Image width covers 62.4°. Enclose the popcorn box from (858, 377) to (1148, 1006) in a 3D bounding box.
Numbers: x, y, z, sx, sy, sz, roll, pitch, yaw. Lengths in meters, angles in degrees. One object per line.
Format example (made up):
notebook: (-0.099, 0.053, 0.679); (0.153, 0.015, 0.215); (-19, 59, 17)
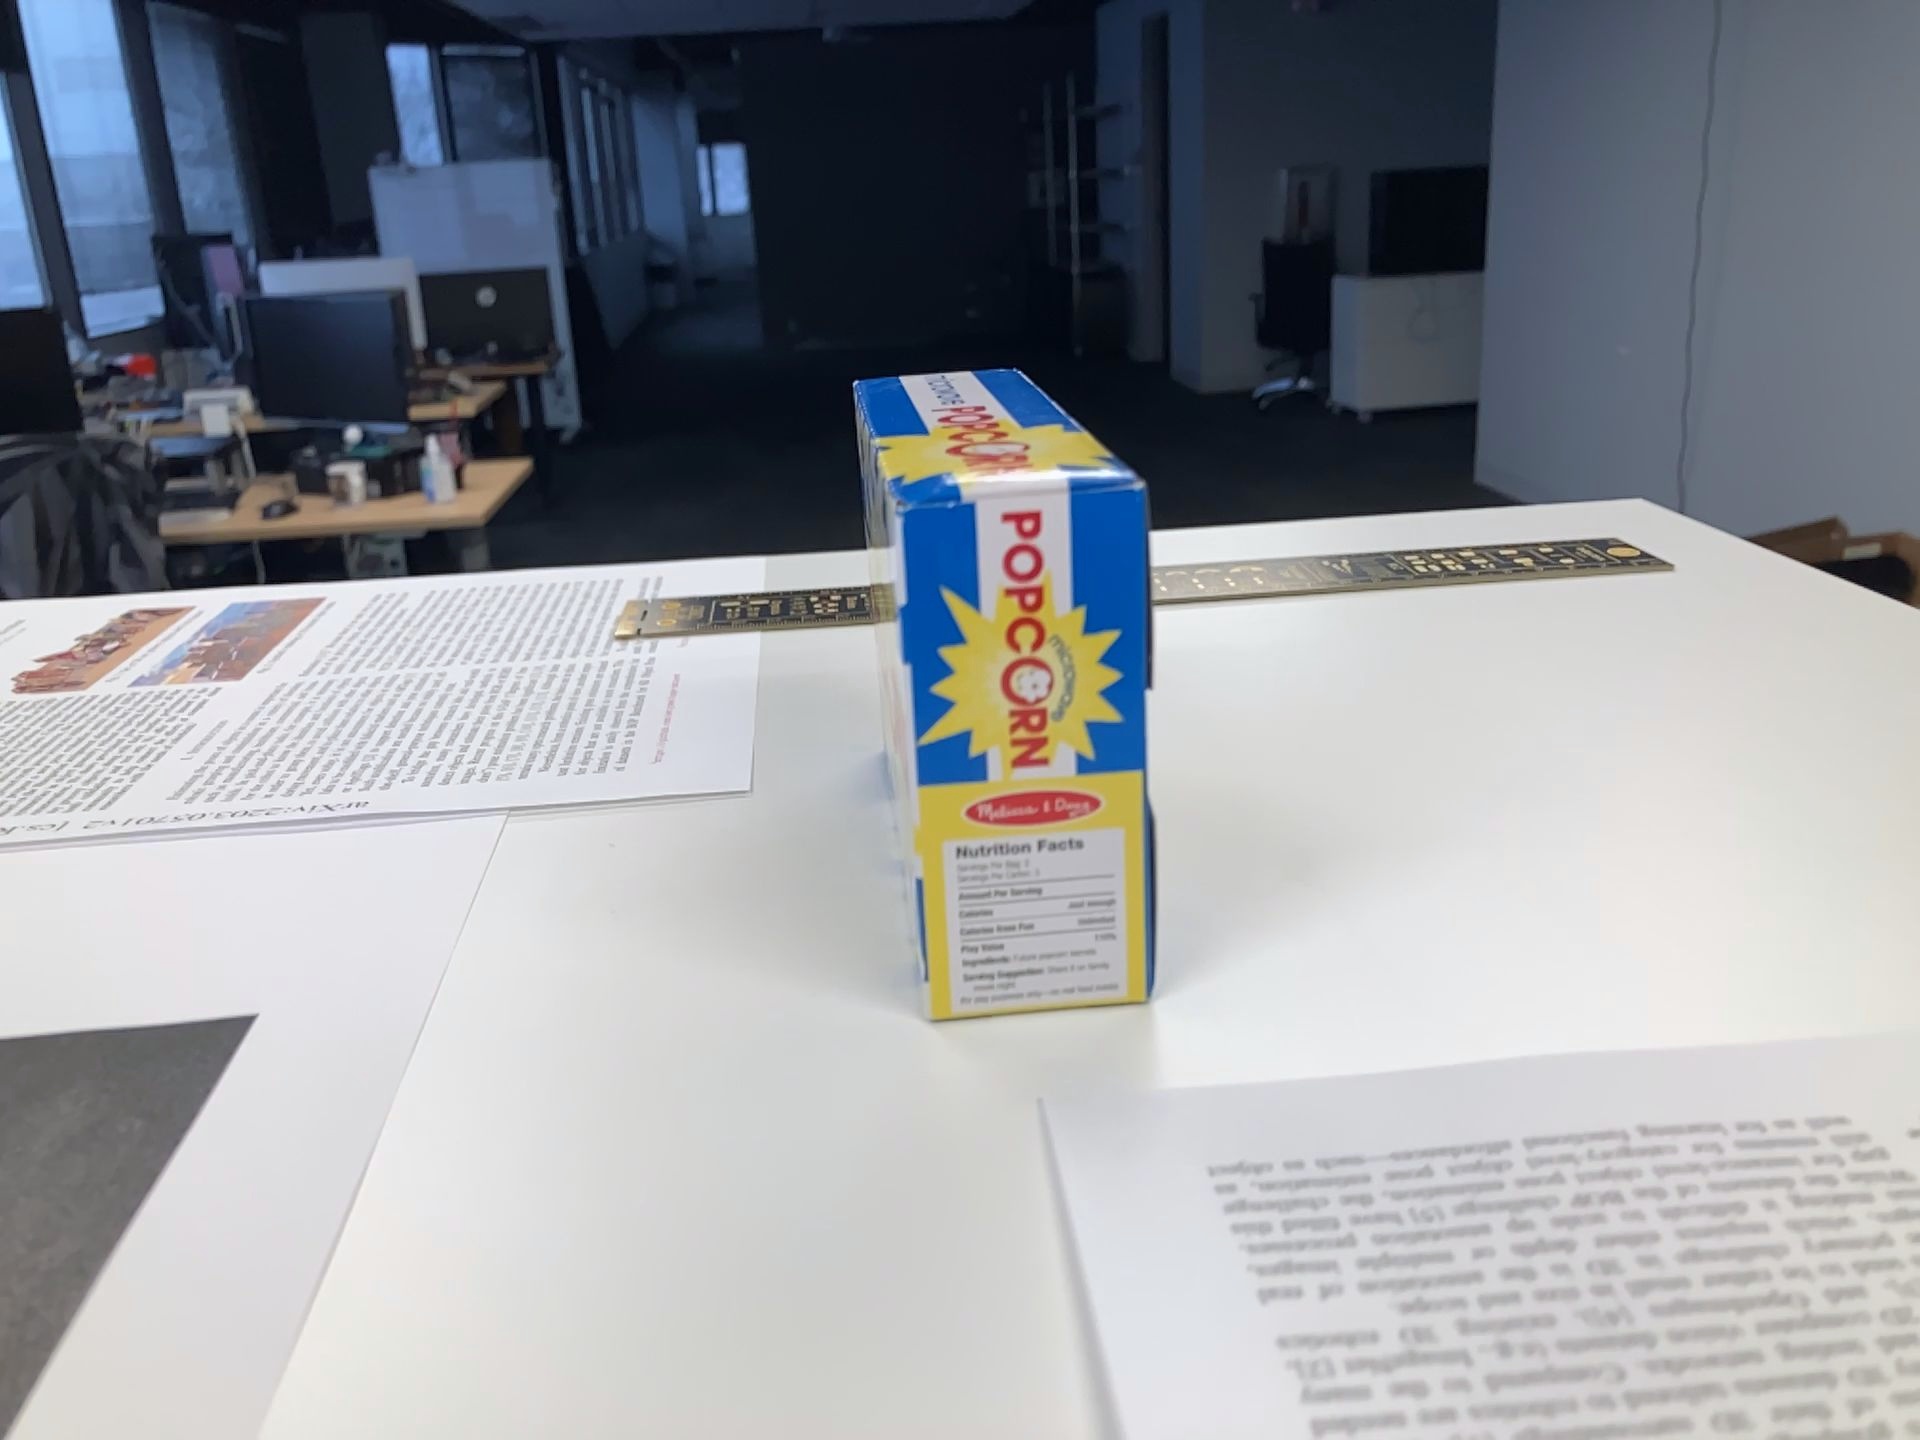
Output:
popcorn box: (0.004, -0.014, 0.298); (0.038, 0.085, 0.126); (-4, 19, -4)
